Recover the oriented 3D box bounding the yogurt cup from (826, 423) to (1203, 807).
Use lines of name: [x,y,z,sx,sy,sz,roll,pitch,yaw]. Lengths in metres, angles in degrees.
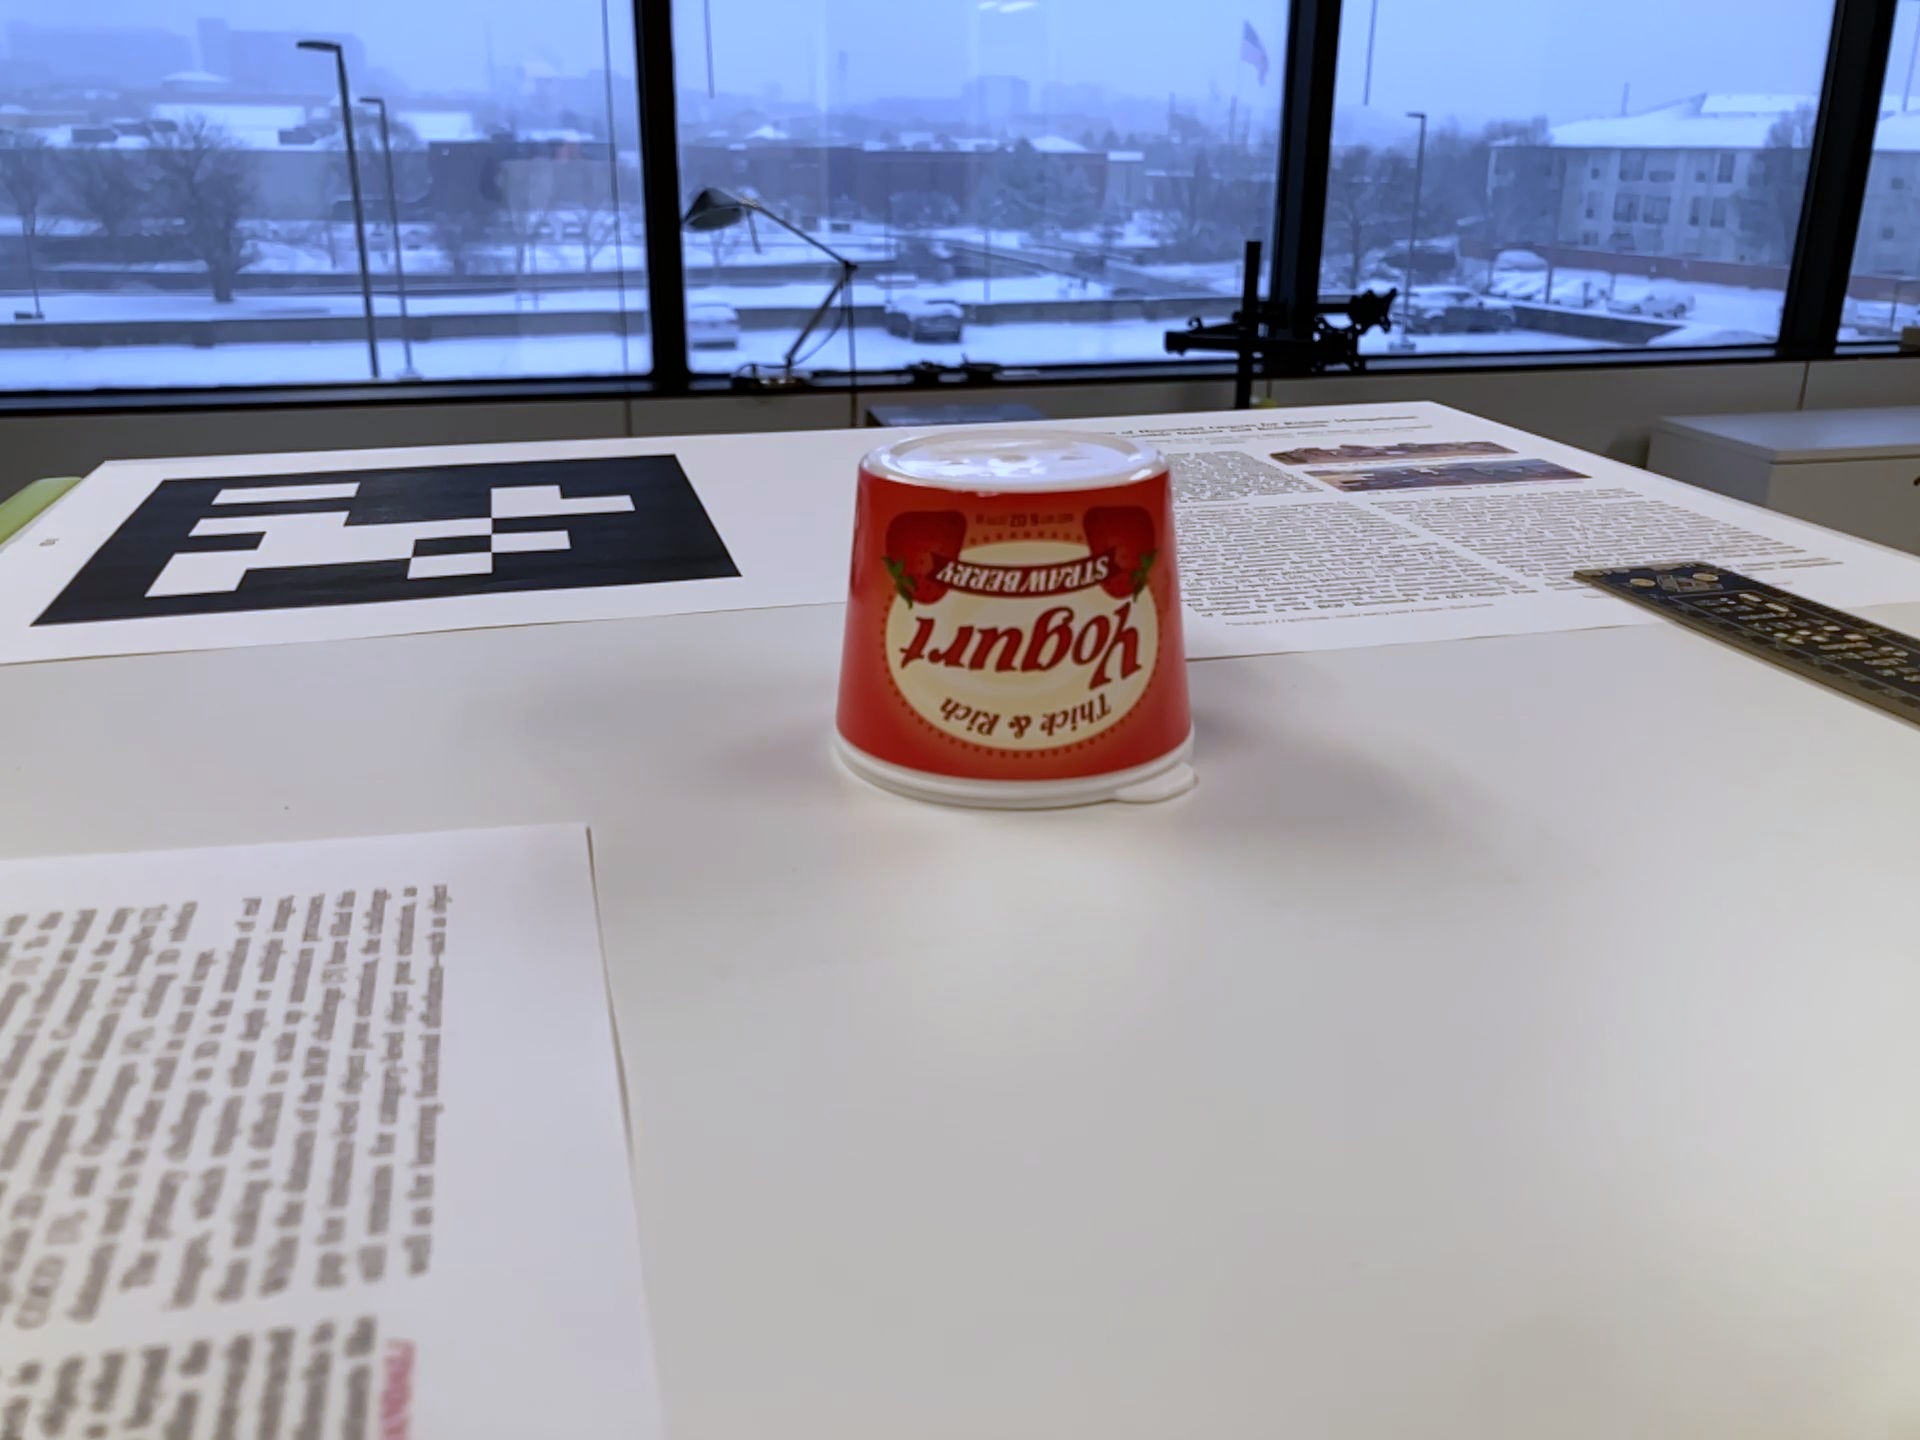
yogurt cup: [0.009,-0.022,0.280,0.072,0.054,0.072,-1,19,0]
